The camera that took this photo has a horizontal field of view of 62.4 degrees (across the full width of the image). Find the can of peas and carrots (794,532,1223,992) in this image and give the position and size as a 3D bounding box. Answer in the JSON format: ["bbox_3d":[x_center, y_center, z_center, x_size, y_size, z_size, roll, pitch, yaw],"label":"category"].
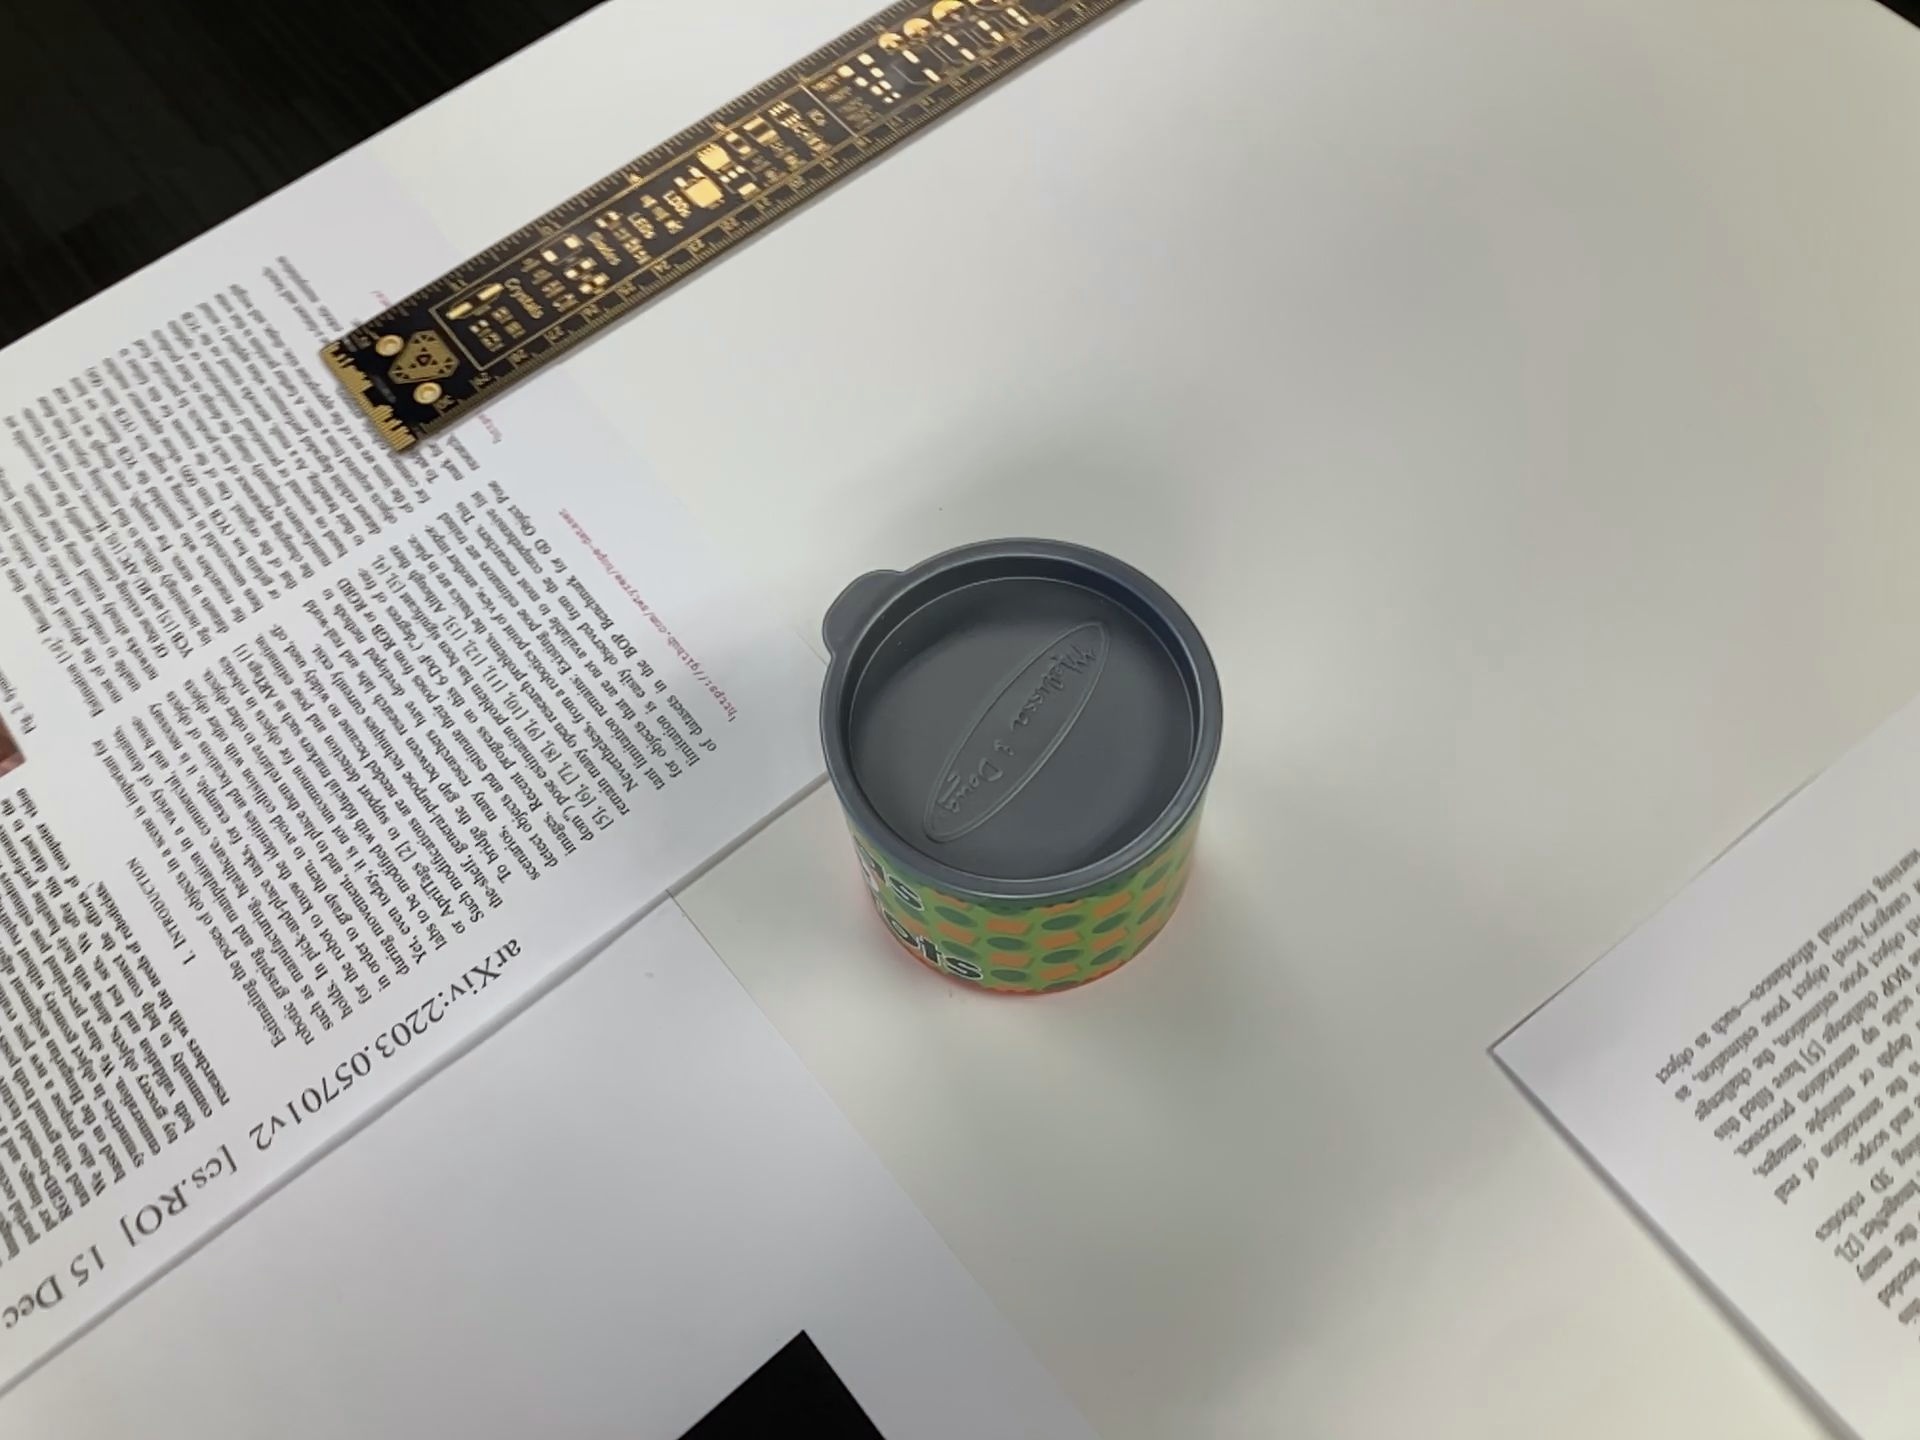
[{"bbox_3d":[0.009,0.011,0.285,0.071,0.059,0.071,-1,64,3],"label":"can of peas and carrots"}]
